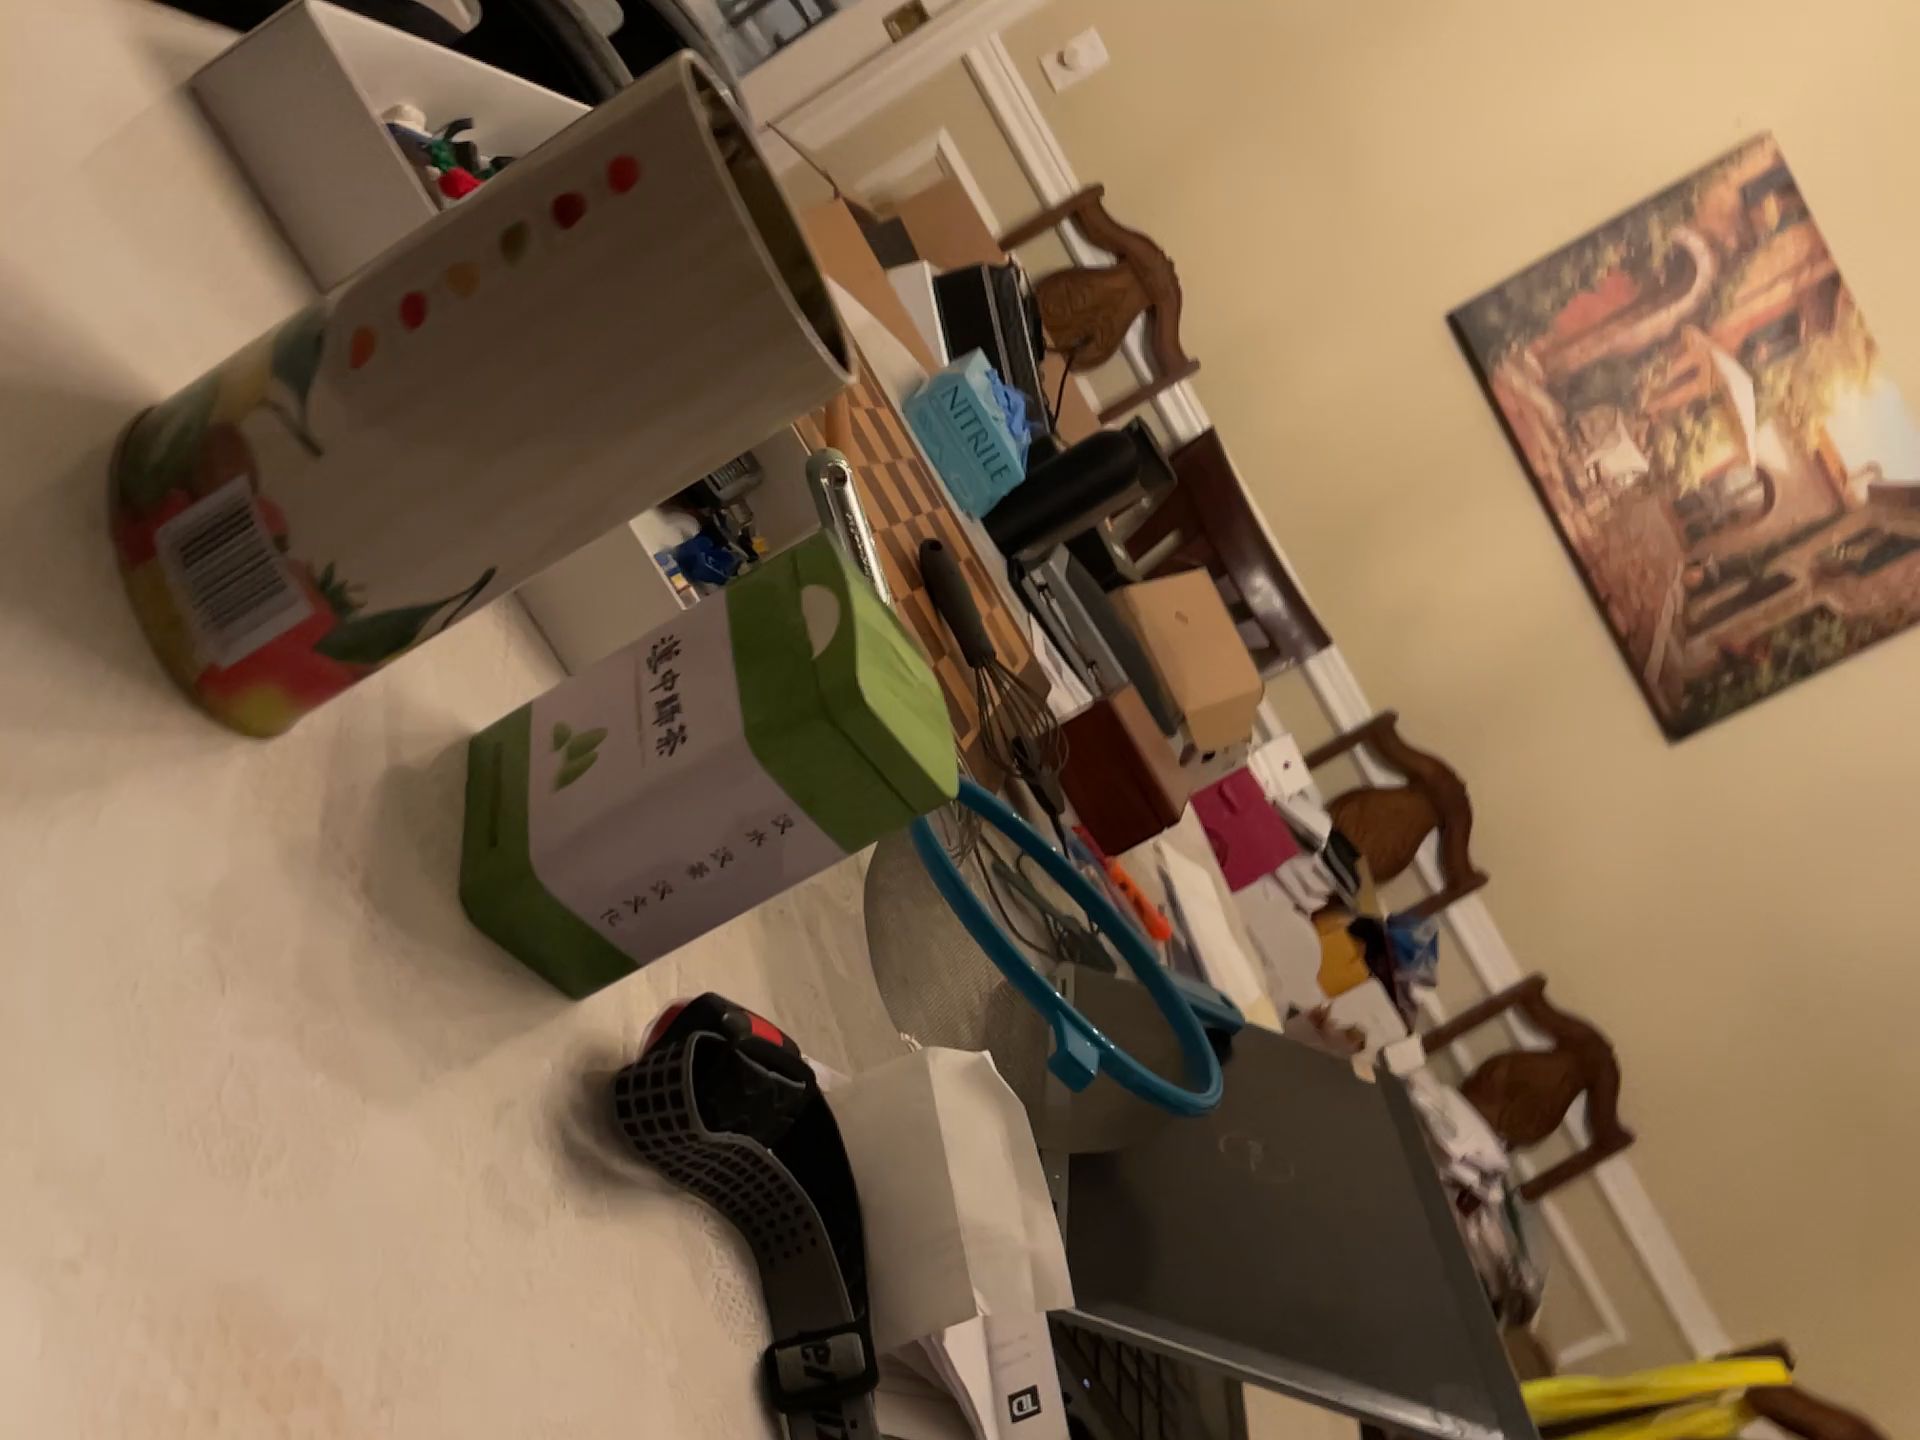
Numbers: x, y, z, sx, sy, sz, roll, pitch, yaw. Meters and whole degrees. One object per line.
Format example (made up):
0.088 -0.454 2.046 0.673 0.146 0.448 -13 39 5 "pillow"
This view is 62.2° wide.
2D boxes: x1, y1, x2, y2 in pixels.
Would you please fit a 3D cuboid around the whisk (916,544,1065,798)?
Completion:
0.016 -0.042 1.162 0.055 0.055 0.239 67 -2 -56 "whisk"

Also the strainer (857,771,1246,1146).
0.052 0.146 0.802 0.211 0.095 0.340 53 11 34 "strainer"

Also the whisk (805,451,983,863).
-0.038 -0.028 0.876 0.059 0.057 0.246 11 -59 67 "whisk"

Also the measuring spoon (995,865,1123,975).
0.062 0.138 1.072 0.128 0.021 0.042 40 13 -28 "measuring spoon"

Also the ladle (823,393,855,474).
-0.076 -0.140 1.040 0.069 0.031 0.316 26 35 -30 "ladle"
